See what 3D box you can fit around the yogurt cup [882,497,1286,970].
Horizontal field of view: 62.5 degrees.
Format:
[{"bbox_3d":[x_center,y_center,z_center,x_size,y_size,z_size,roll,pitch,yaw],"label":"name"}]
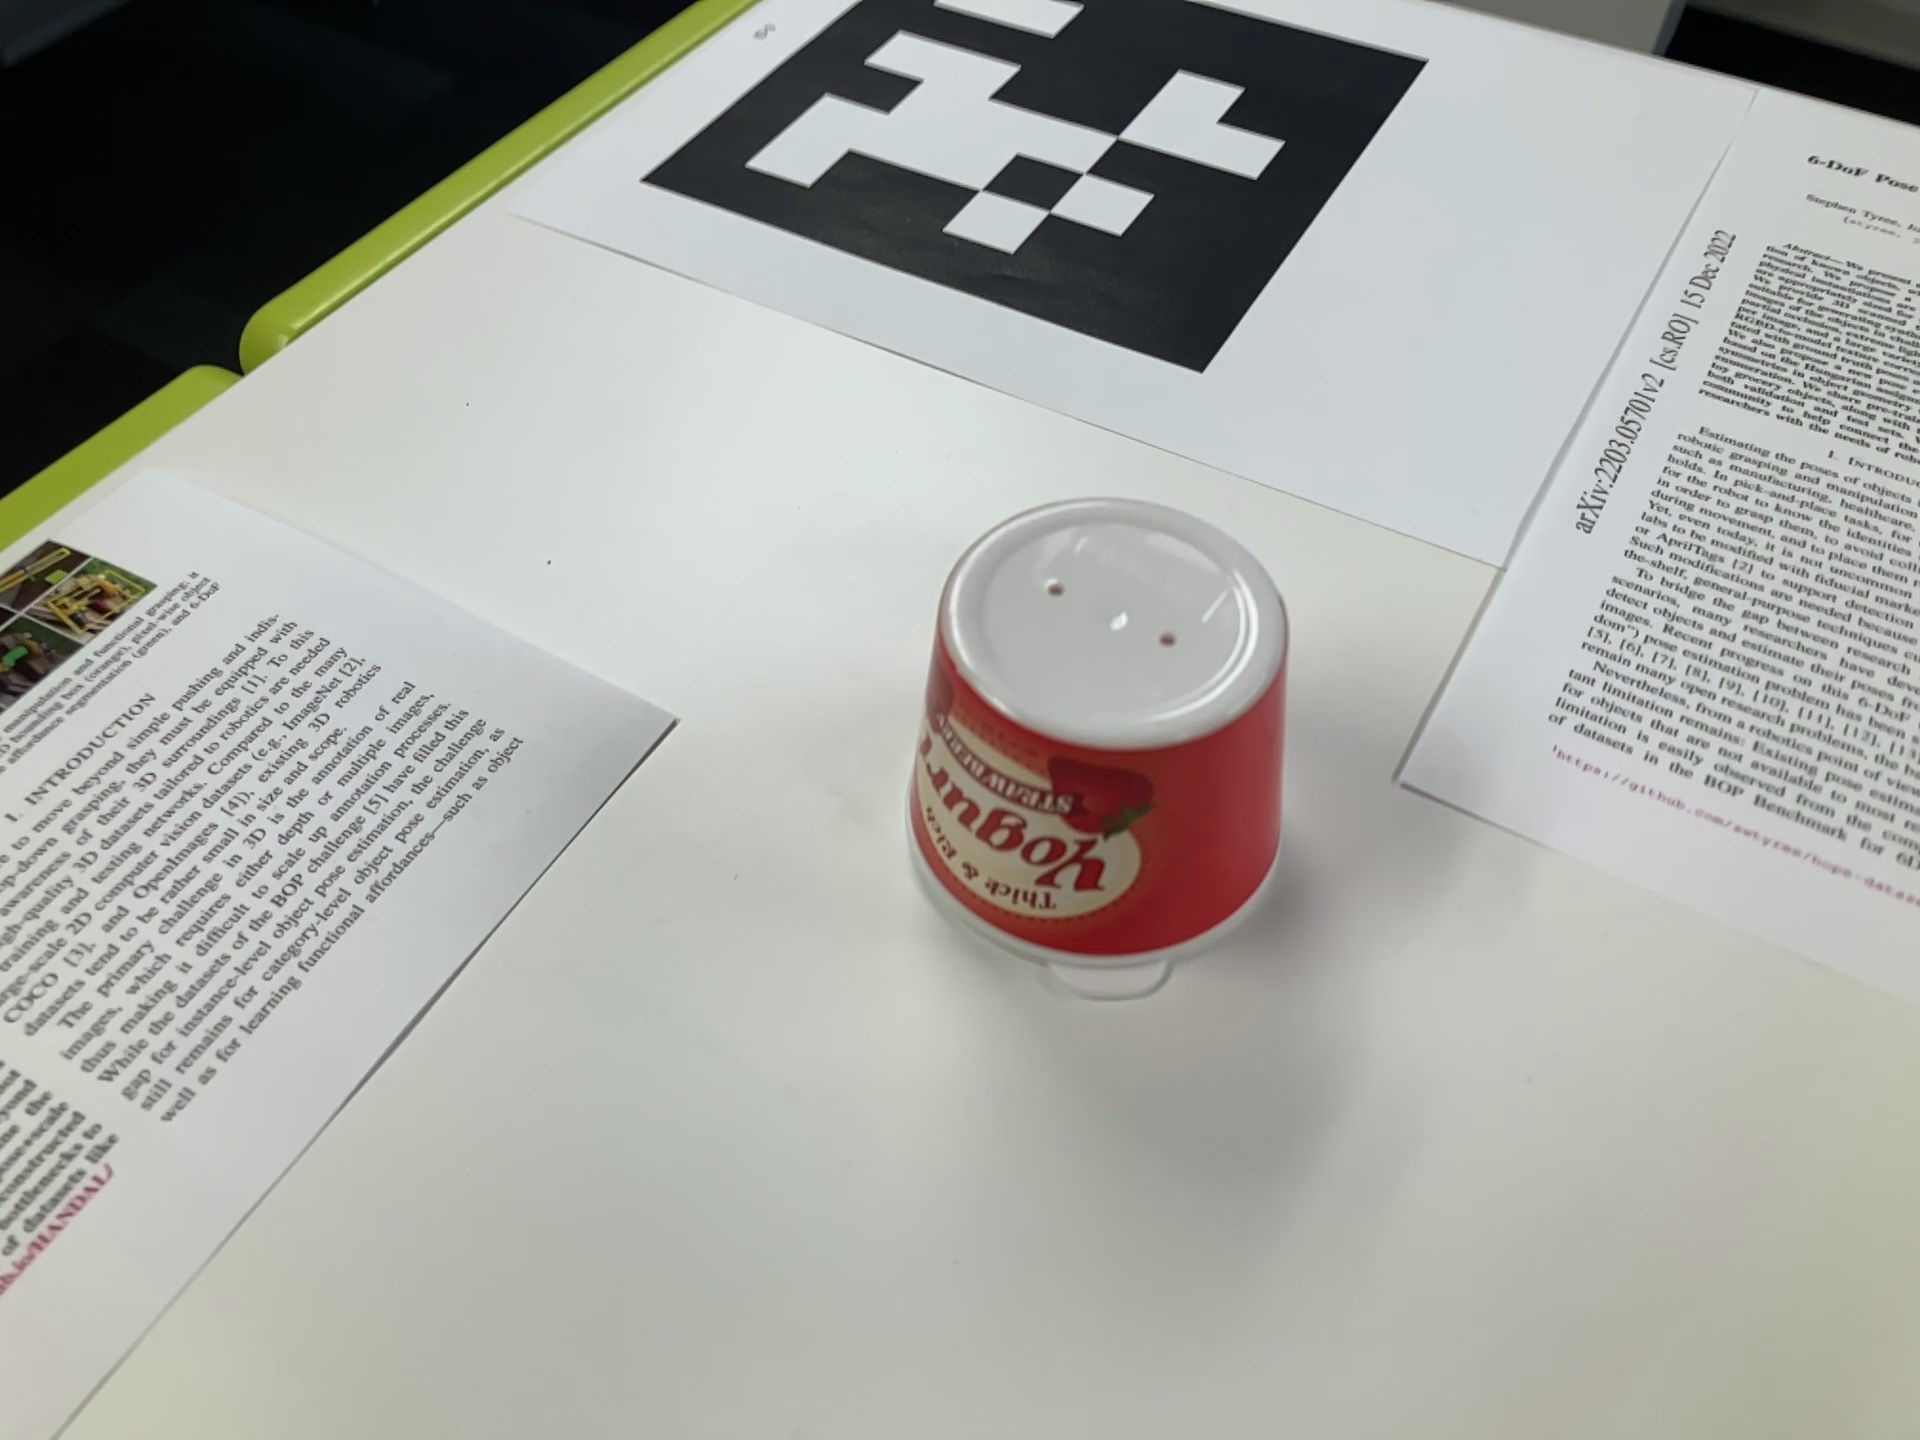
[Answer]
[{"bbox_3d":[0.024,0.000,0.267,0.072,0.054,0.072,-1,50,1],"label":"yogurt cup"}]
